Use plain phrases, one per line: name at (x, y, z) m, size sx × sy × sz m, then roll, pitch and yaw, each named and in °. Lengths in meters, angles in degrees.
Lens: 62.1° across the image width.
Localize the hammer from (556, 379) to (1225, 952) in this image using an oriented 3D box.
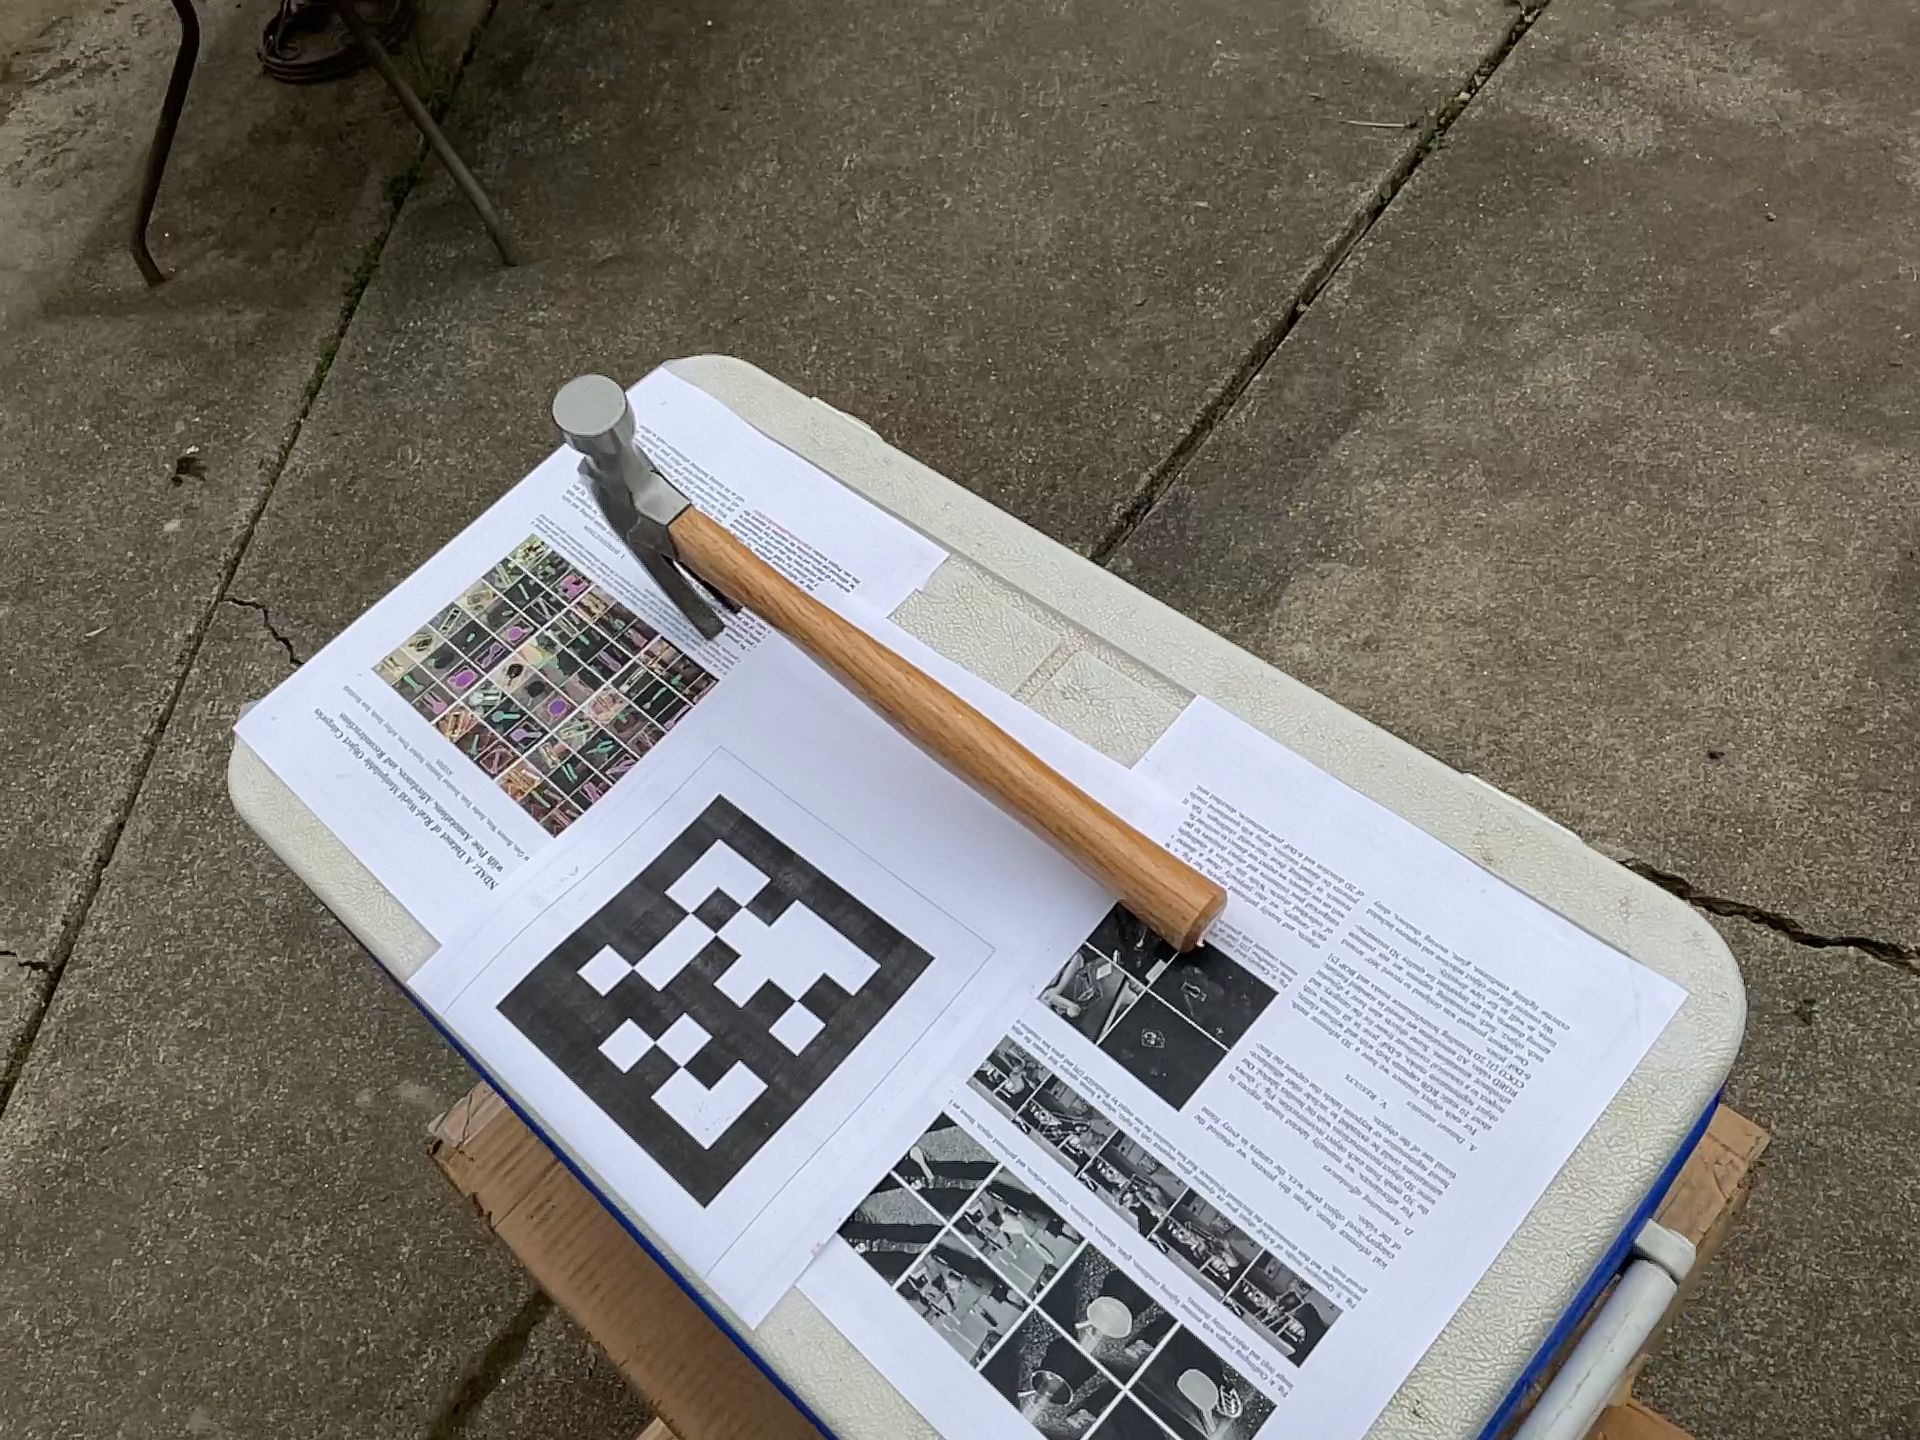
hammer at (-0.032, -0.015, 0.659) m, size 0.332 × 0.130 × 0.031 m, roll 37°, pitch 73°, yaw 19°
